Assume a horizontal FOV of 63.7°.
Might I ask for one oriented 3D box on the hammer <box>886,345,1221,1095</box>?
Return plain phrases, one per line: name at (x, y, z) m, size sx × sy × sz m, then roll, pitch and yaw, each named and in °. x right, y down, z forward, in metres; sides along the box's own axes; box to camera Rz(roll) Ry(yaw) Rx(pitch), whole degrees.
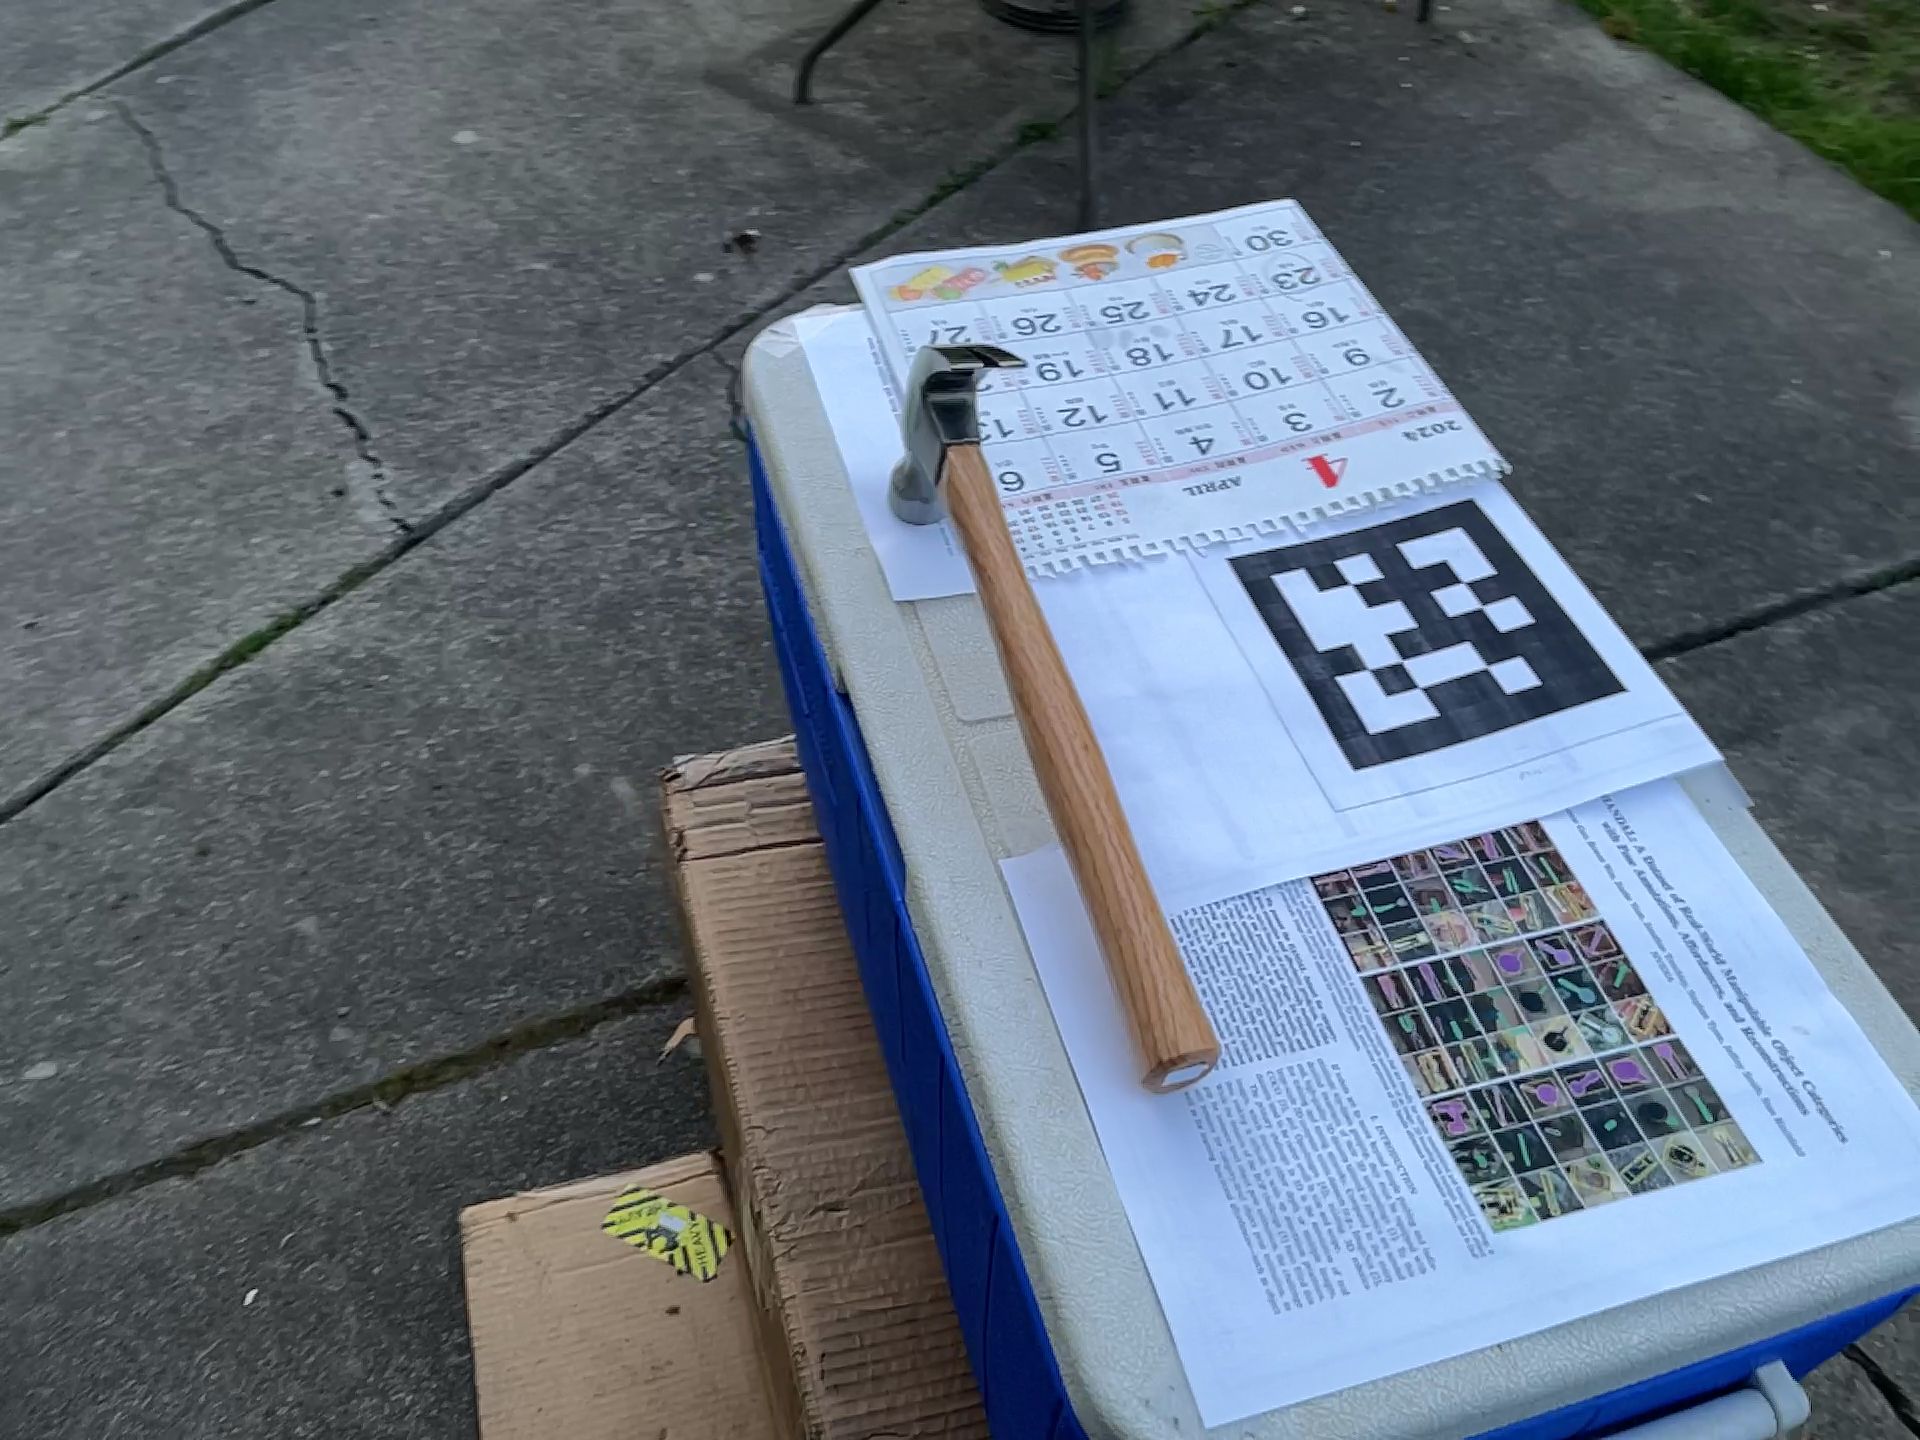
hammer at (0.031, -0.016, 0.606) m, size 0.031 × 0.130 × 0.331 m, roll -9°, pitch 59°, yaw -16°
